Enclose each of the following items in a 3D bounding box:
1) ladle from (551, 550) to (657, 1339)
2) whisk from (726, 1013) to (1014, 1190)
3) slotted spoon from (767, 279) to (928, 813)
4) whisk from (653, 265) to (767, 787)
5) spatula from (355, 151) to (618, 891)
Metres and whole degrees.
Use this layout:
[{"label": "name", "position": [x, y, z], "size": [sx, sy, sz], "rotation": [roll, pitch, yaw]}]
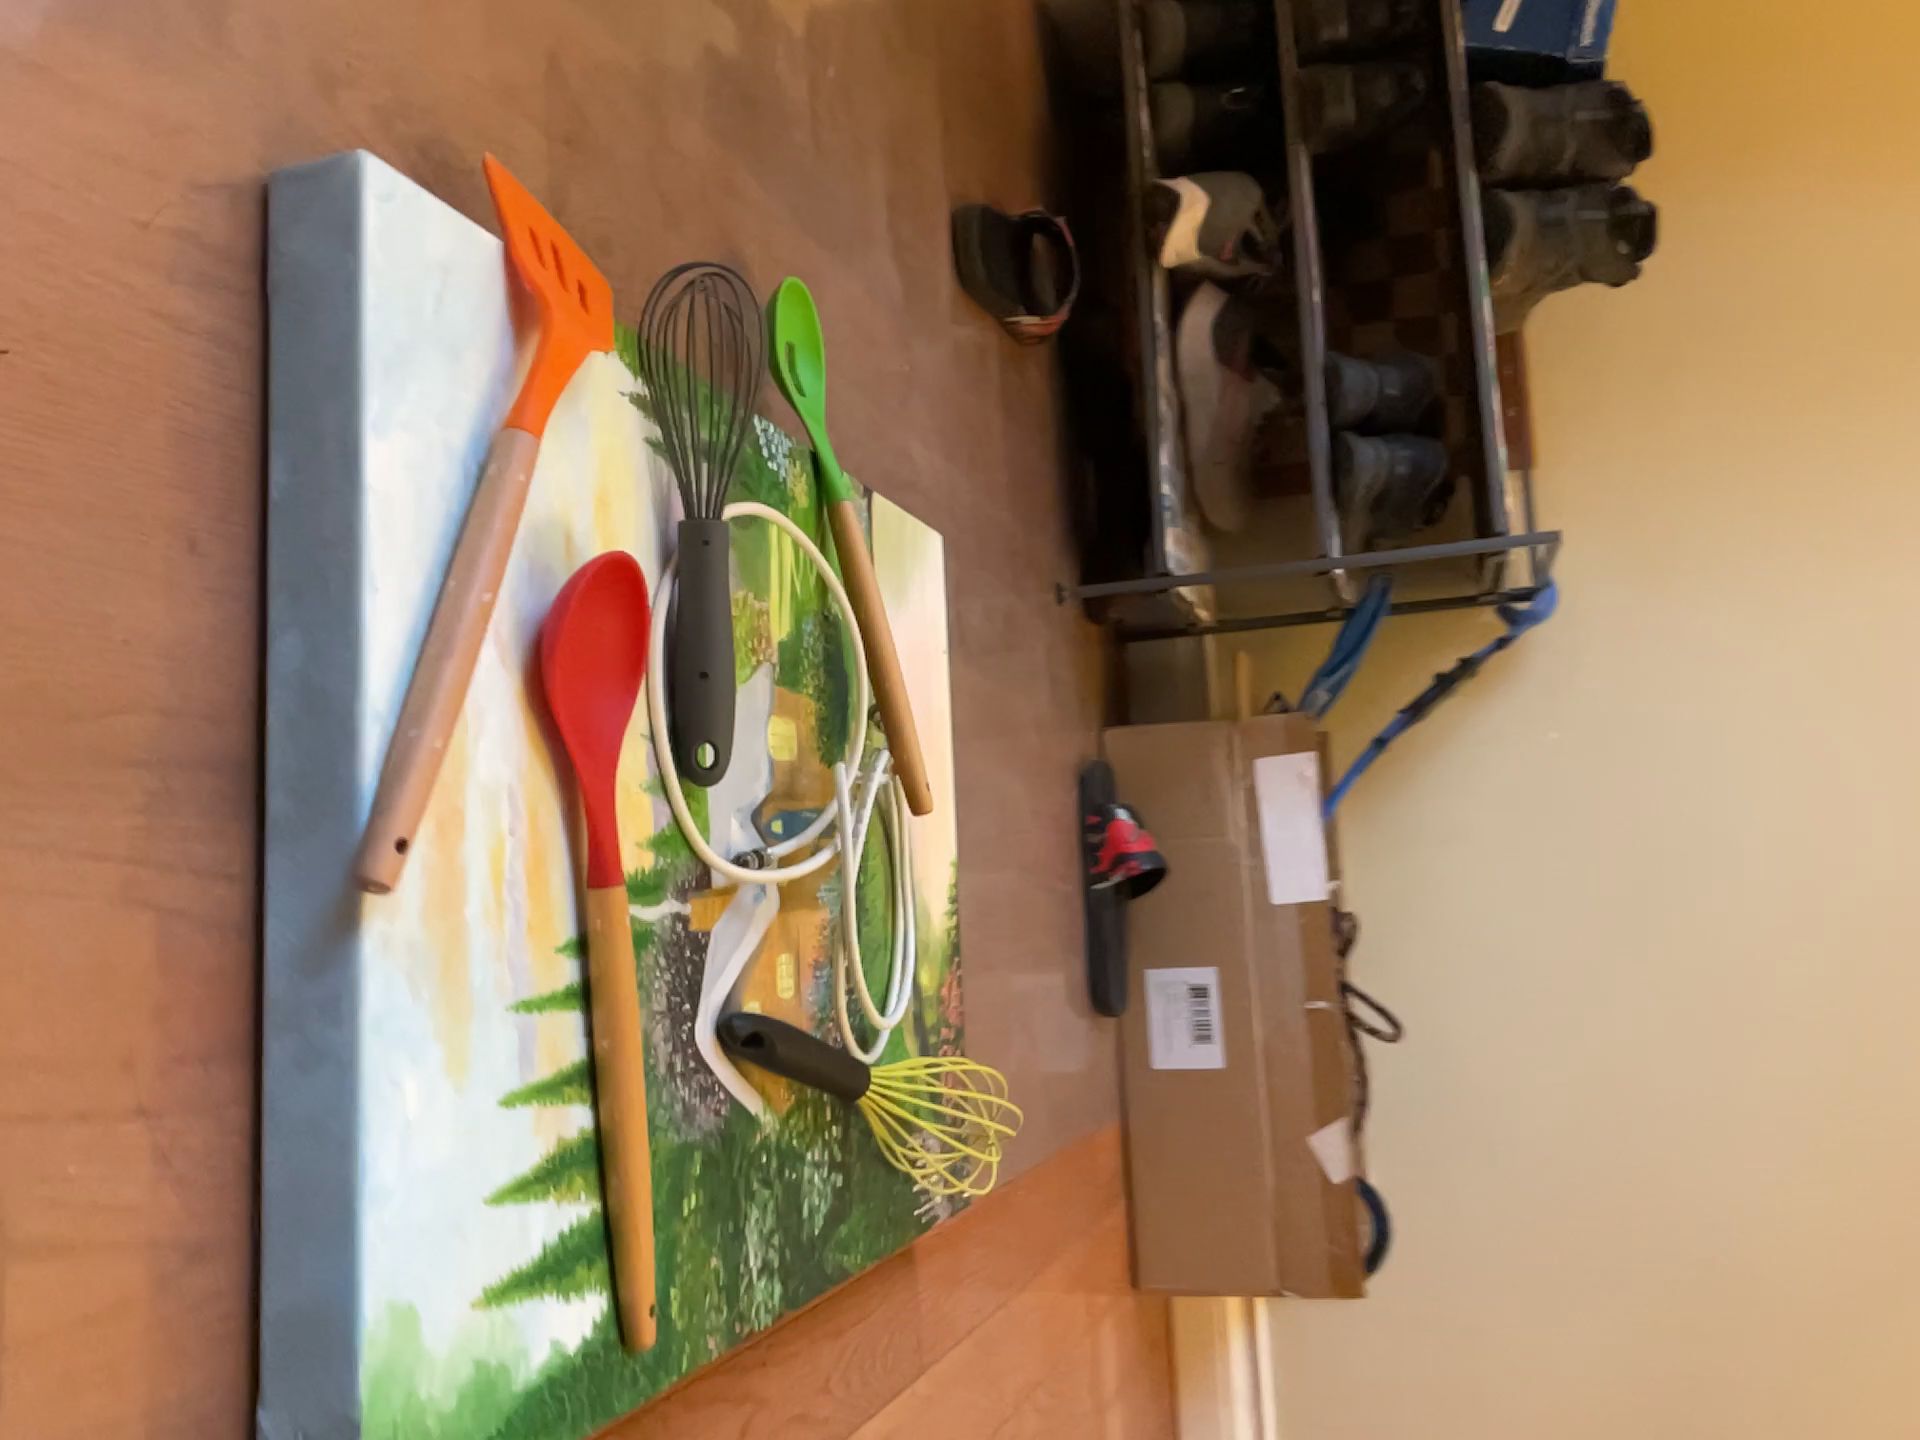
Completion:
[{"label": "ladle", "position": [-0.138, 0.091, 0.637], "size": [0.069, 0.031, 0.315], "rotation": [-7, 95, -72]}, {"label": "whisk", "position": [-0.045, 0.202, 0.867], "size": [0.311, 0.067, 0.080], "rotation": [44, 38, -56]}, {"label": "slotted spoon", "position": [-0.063, -0.100, 0.903], "size": [0.070, 0.031, 0.314], "rotation": [12, 62, -72]}, {"label": "whisk", "position": [-0.115, -0.089, 0.727], "size": [0.055, 0.055, 0.239], "rotation": [-4, 96, -62]}, {"label": "spatula", "position": [-0.176, -0.084, 0.593], "size": [0.080, 0.041, 0.323], "rotation": [46, 42, -47]}]
